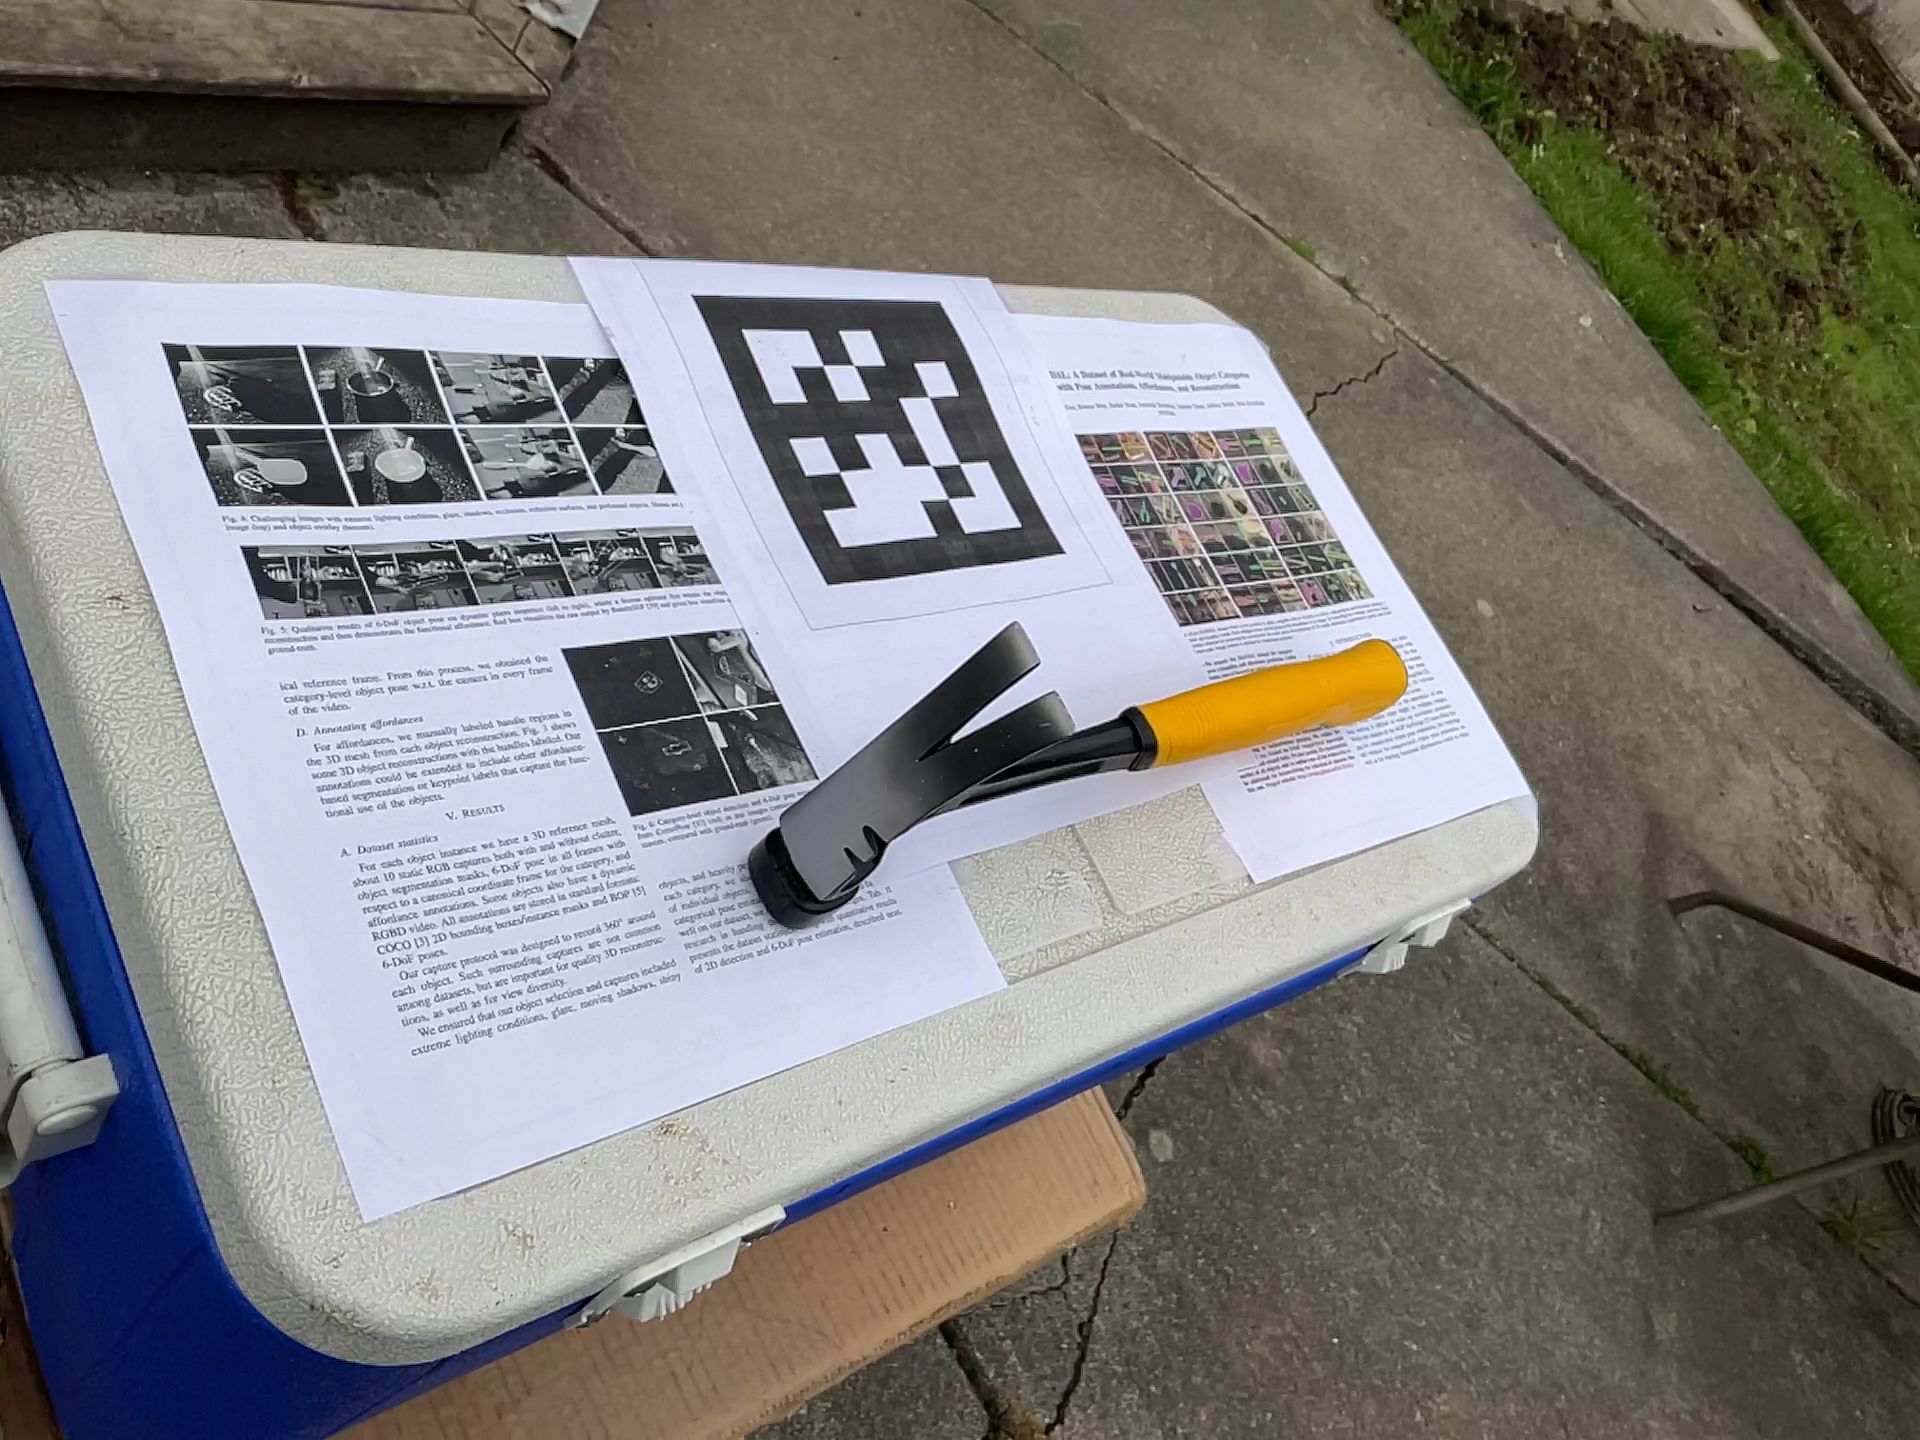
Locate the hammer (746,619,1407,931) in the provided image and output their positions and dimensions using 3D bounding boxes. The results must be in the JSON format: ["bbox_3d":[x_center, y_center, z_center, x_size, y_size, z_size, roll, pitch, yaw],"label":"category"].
[{"bbox_3d":[0.081,0.000,0.571,0.336,0.127,0.034,-12,68,-50],"label":"hammer"}]
